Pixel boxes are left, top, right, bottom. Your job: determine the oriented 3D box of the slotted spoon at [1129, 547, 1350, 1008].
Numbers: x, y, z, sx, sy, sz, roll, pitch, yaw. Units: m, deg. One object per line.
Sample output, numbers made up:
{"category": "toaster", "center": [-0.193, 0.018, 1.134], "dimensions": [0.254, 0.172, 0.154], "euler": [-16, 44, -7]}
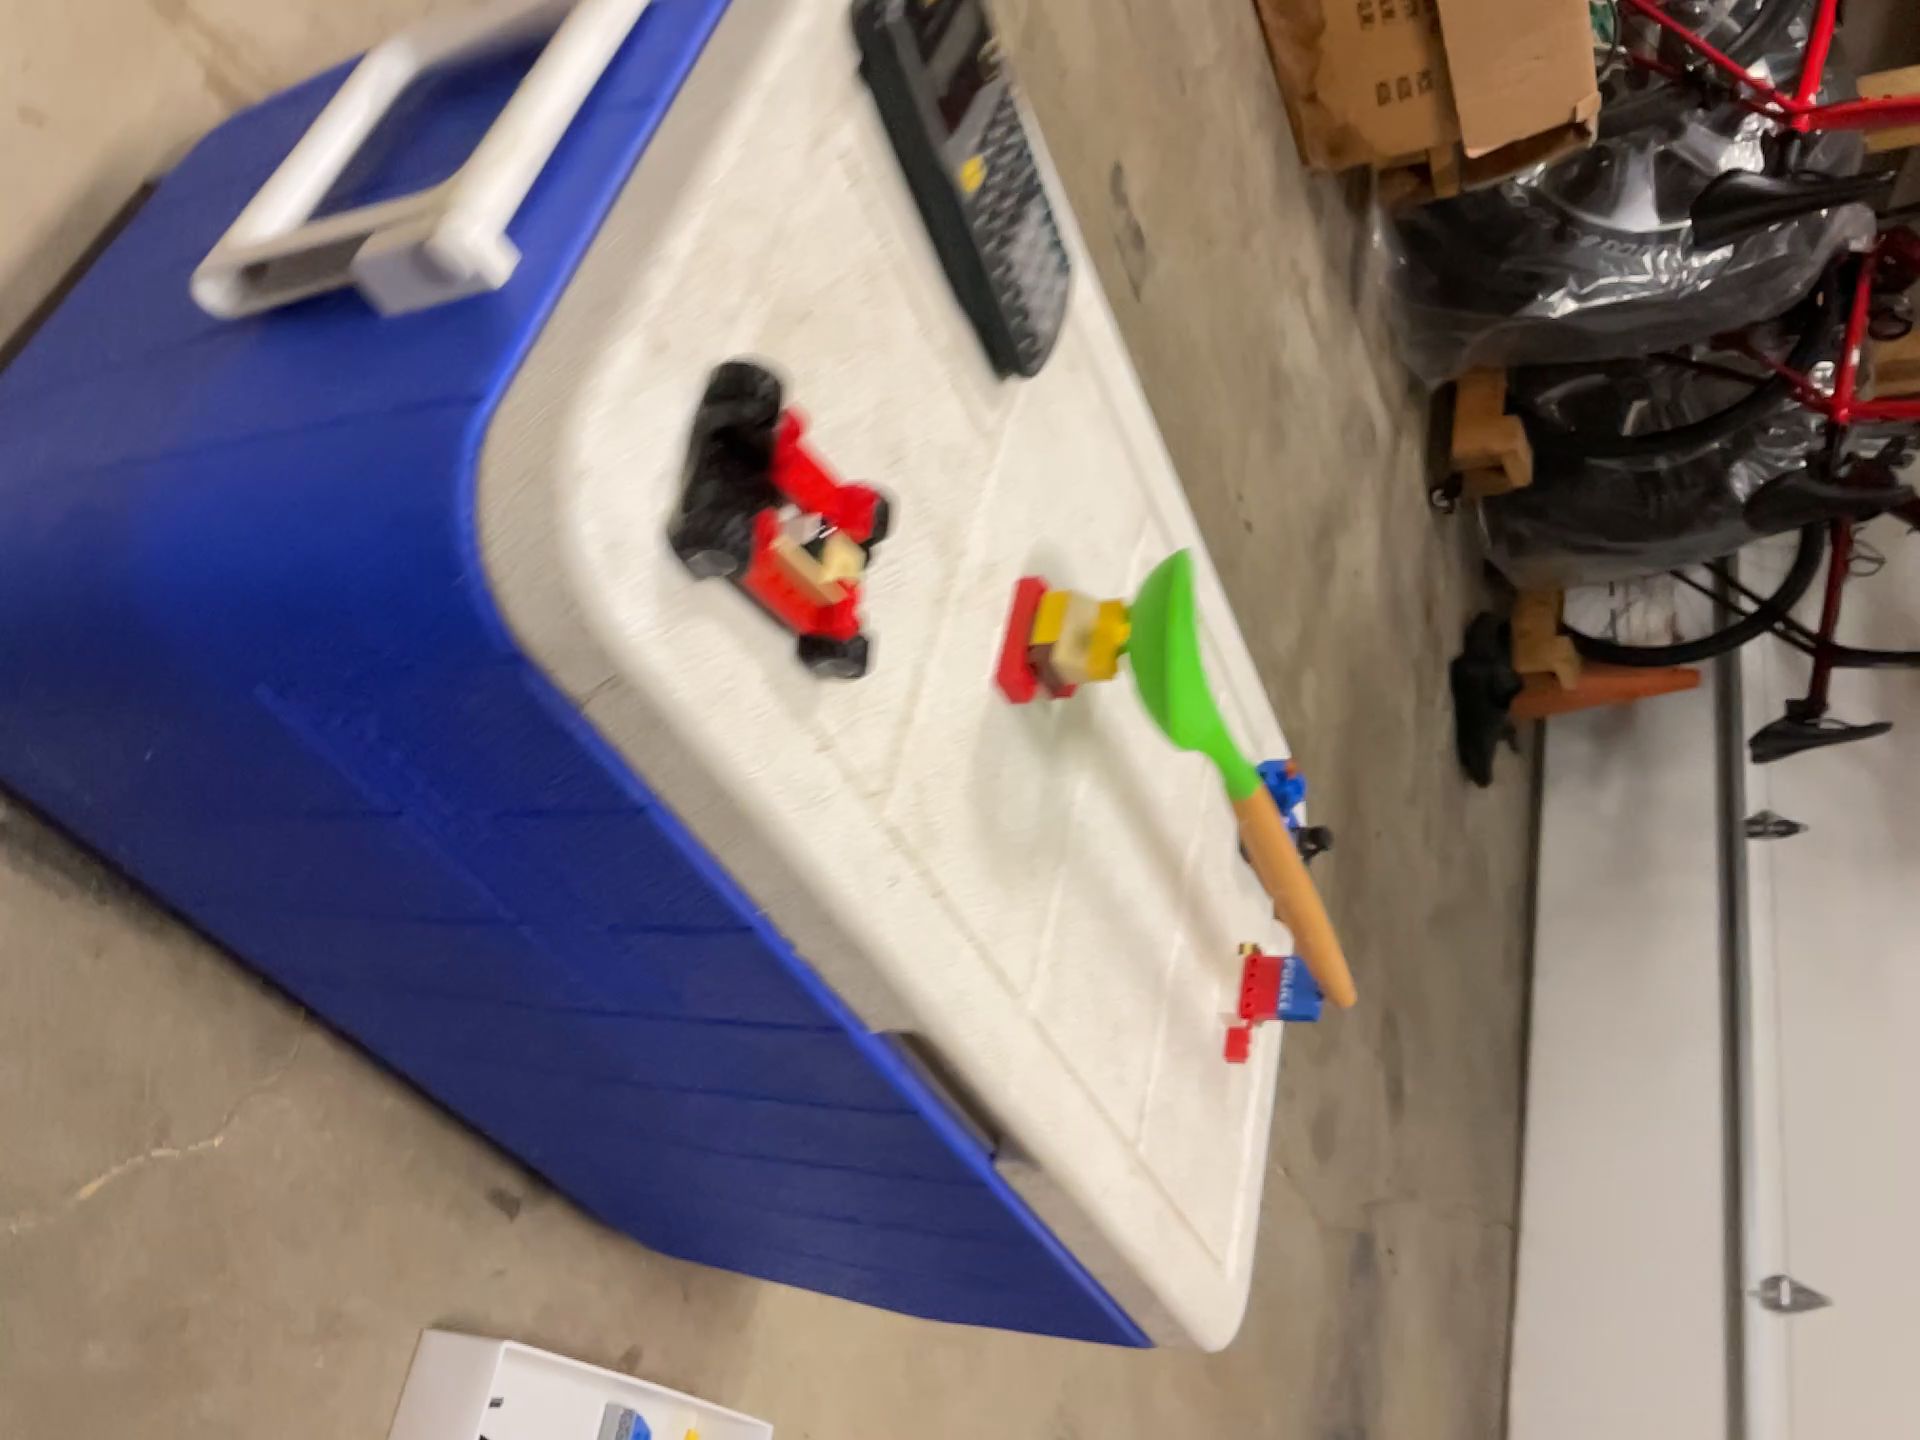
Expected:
{"category": "slotted spoon", "center": [0.123, 0.044, 0.665], "dimensions": [0.313, 0.031, 0.070], "euler": [57, 37, -46]}
